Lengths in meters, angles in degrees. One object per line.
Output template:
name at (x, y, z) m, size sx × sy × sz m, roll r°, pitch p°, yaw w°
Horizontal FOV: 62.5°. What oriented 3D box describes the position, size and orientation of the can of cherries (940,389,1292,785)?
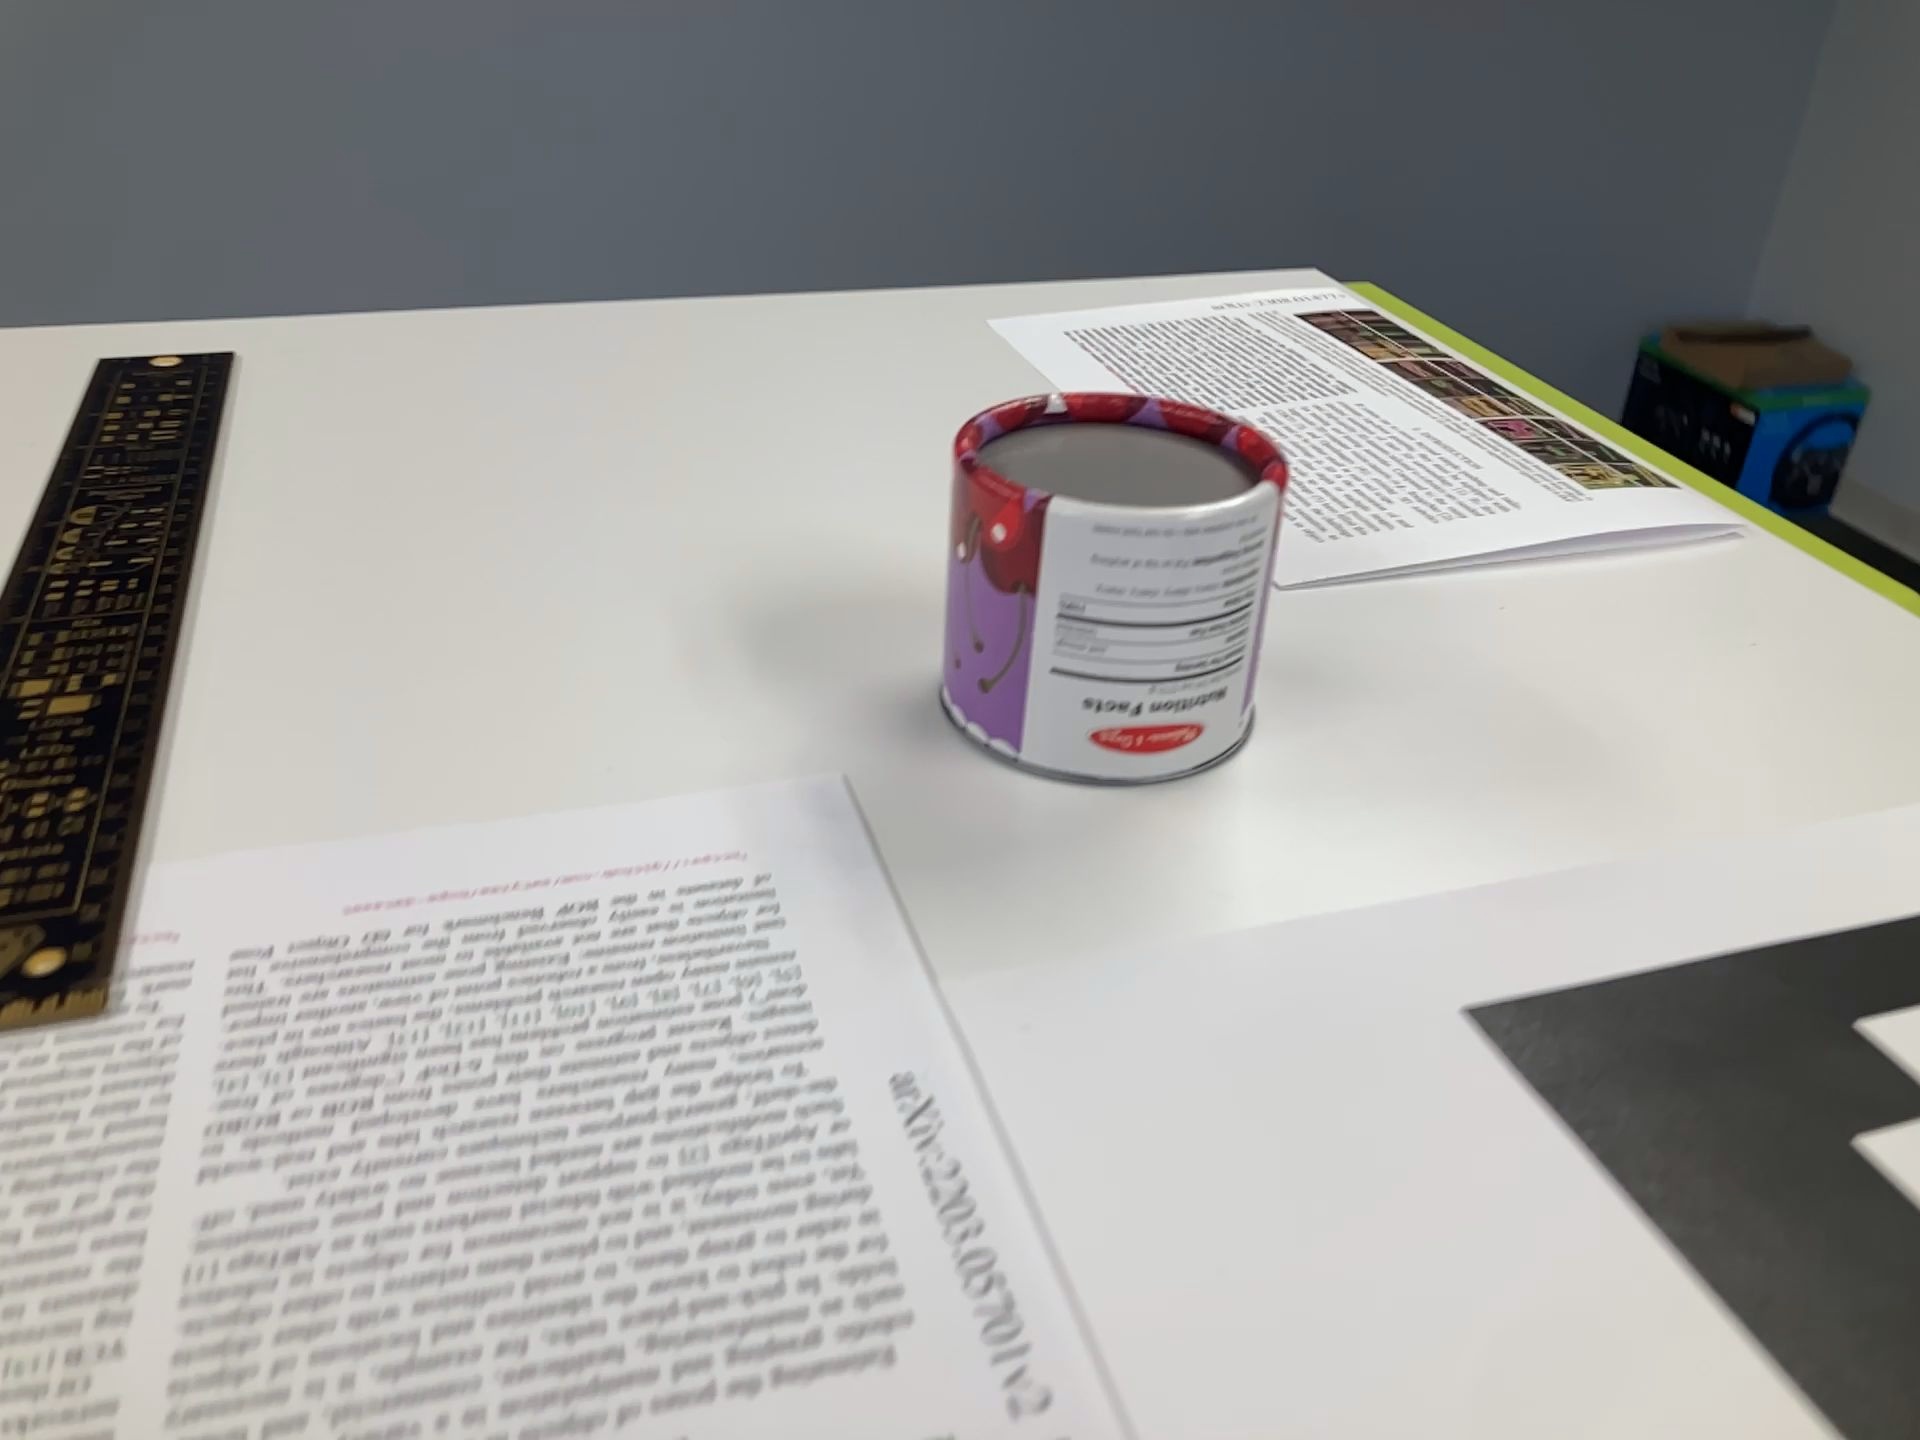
can of cherries at (0.029, -0.030, 0.320) m, size 0.071 × 0.058 × 0.071 m, roll 1°, pitch 31°, yaw -1°
